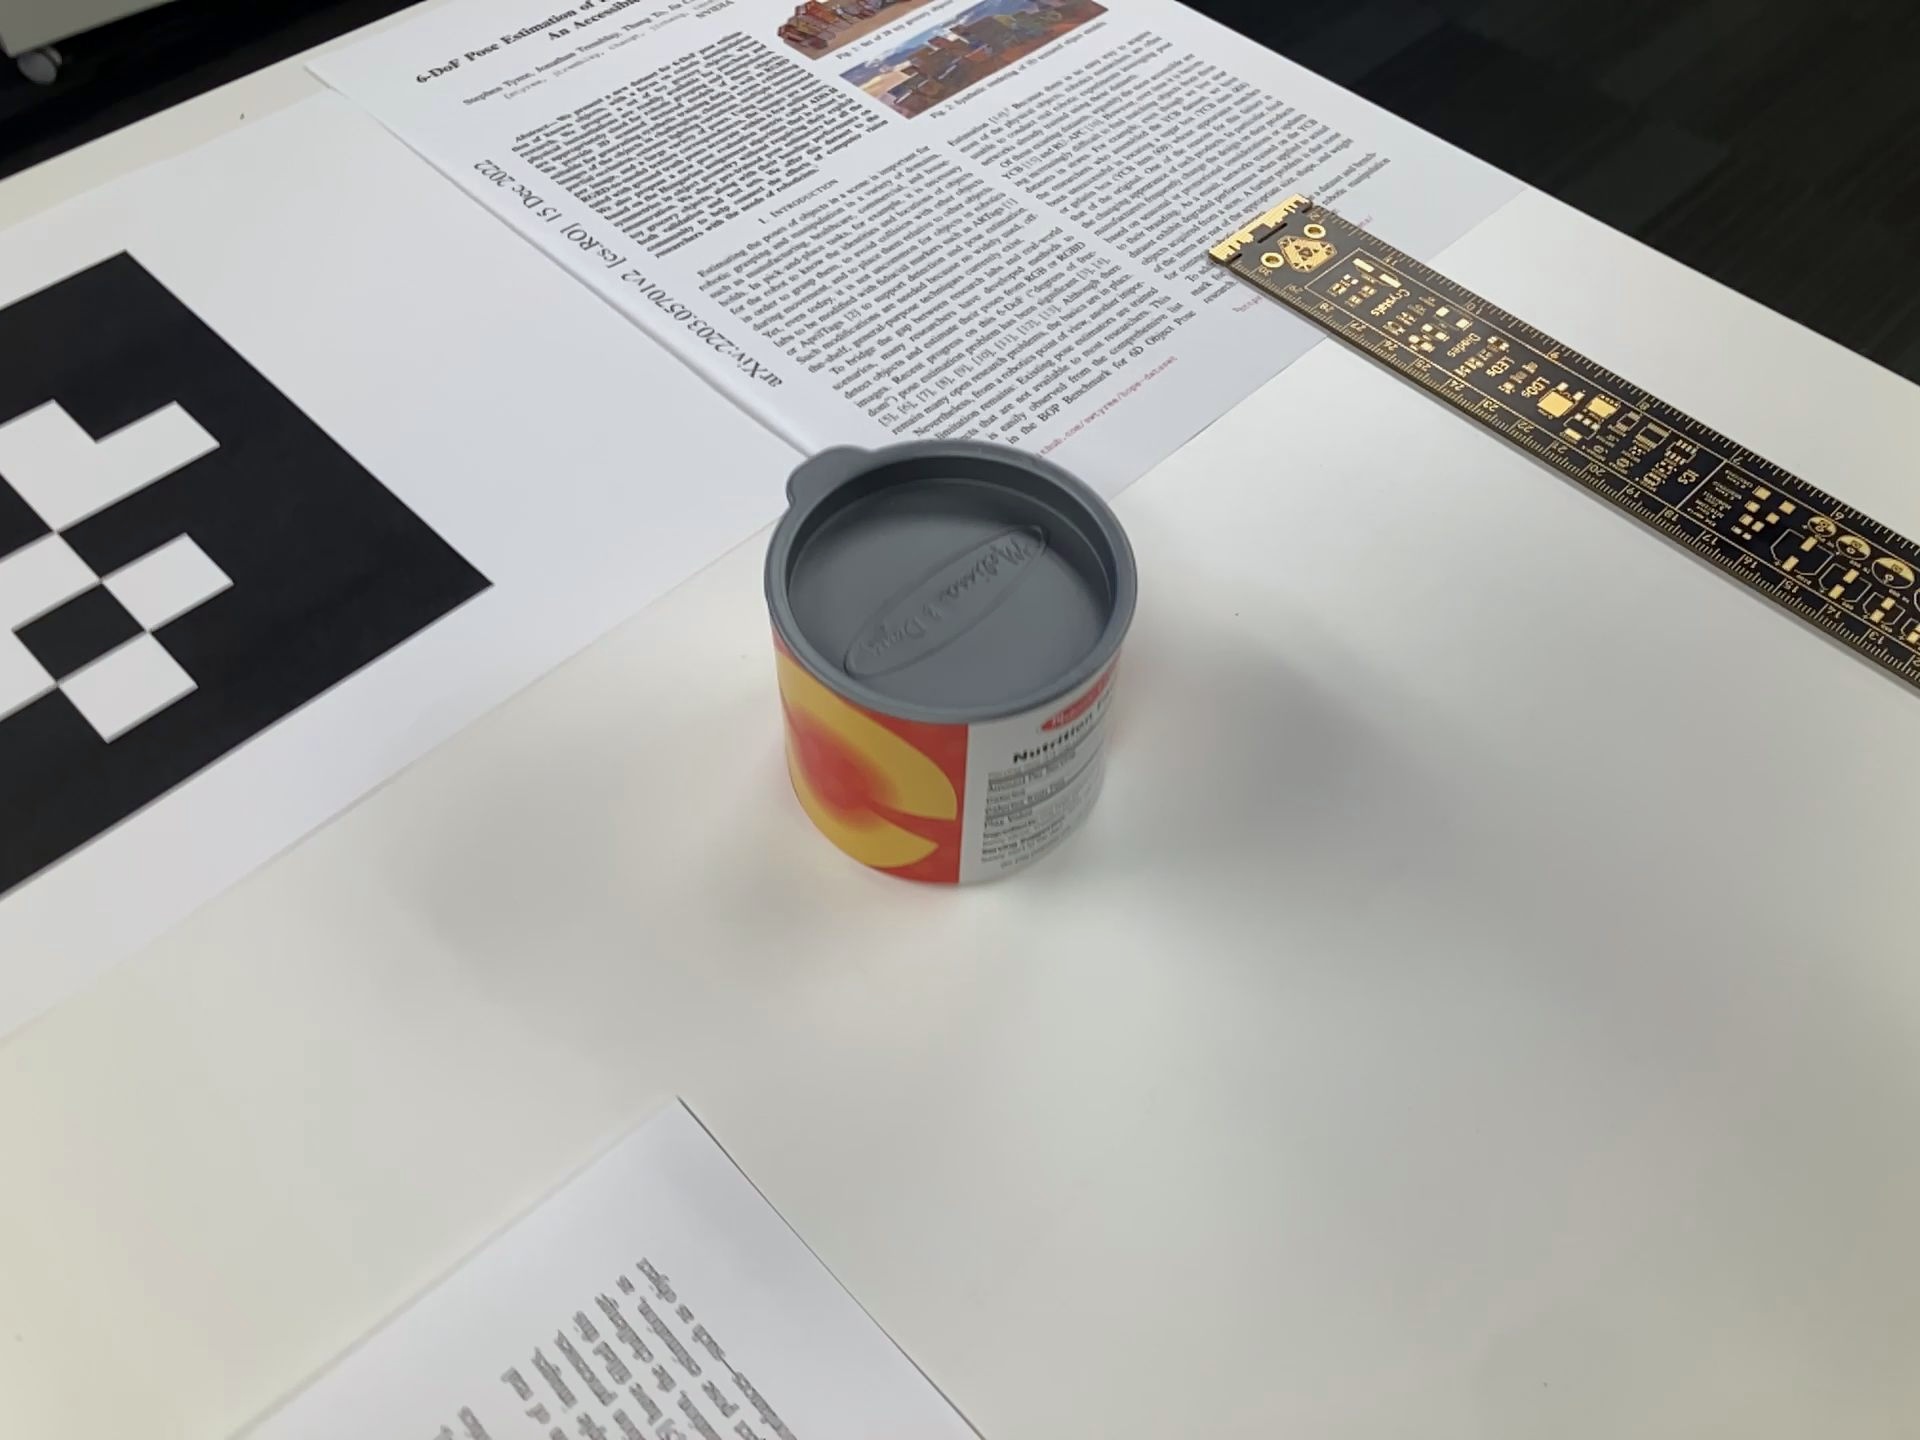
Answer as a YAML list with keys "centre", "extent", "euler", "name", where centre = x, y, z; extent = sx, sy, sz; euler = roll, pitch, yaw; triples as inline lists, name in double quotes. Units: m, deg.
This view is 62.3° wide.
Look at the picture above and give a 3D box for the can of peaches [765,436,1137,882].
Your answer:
- centre: [-0.004, -0.012, 0.306]
  extent: [0.071, 0.058, 0.071]
  euler: [0, 53, -1]
  name: "can of peaches"
